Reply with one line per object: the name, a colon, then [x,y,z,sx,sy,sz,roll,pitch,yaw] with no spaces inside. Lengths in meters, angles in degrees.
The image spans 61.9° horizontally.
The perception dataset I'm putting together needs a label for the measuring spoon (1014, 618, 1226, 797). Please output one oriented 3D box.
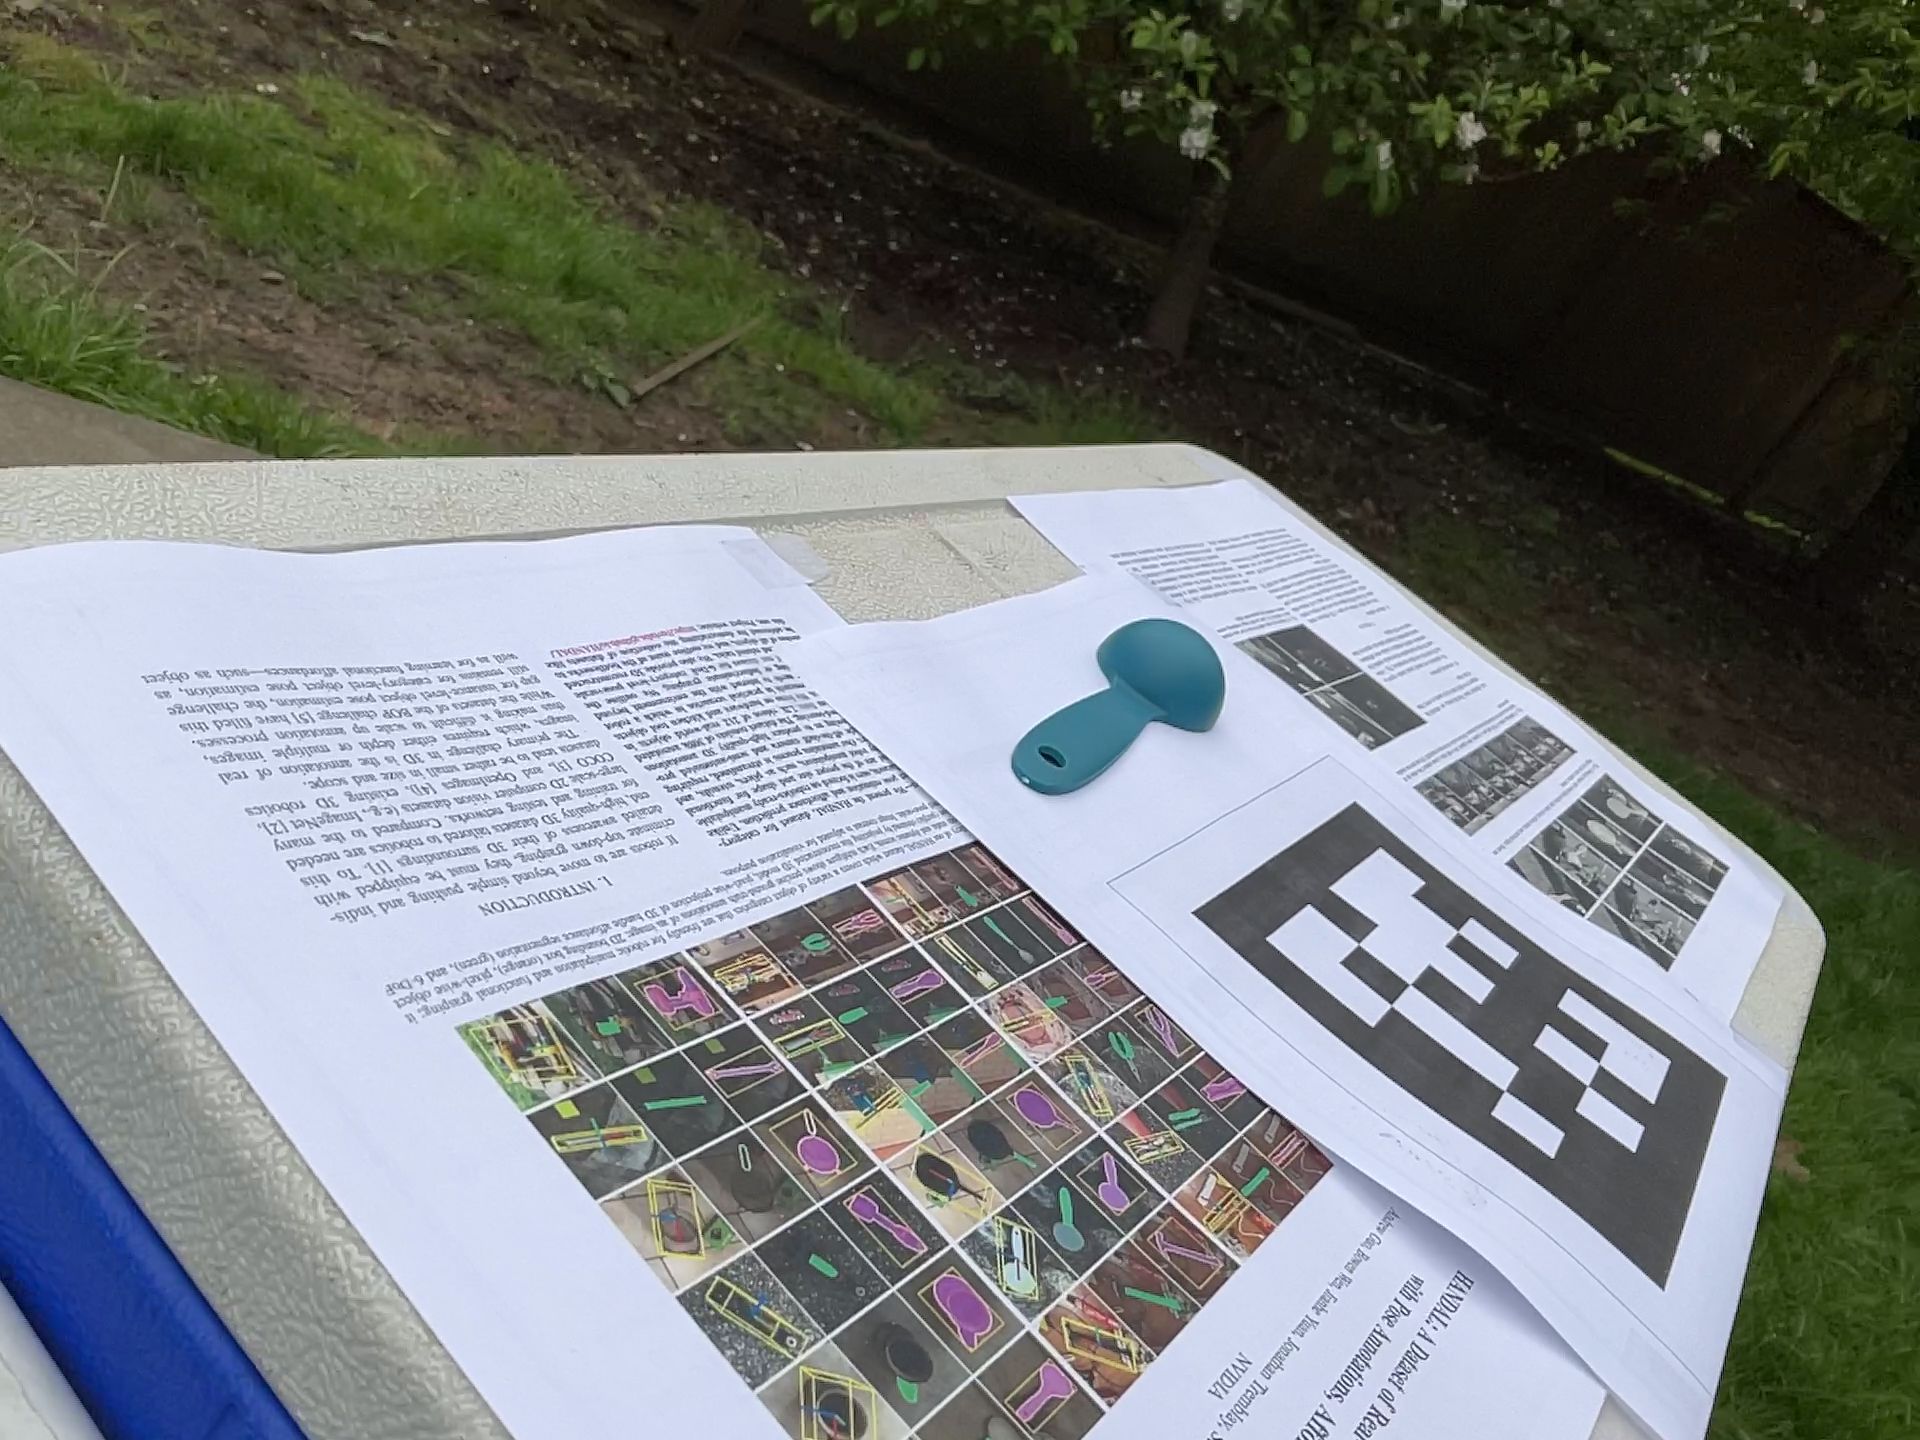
measuring spoon: [0.047,-0.006,0.447,0.042,0.021,0.128,42,28,9]
